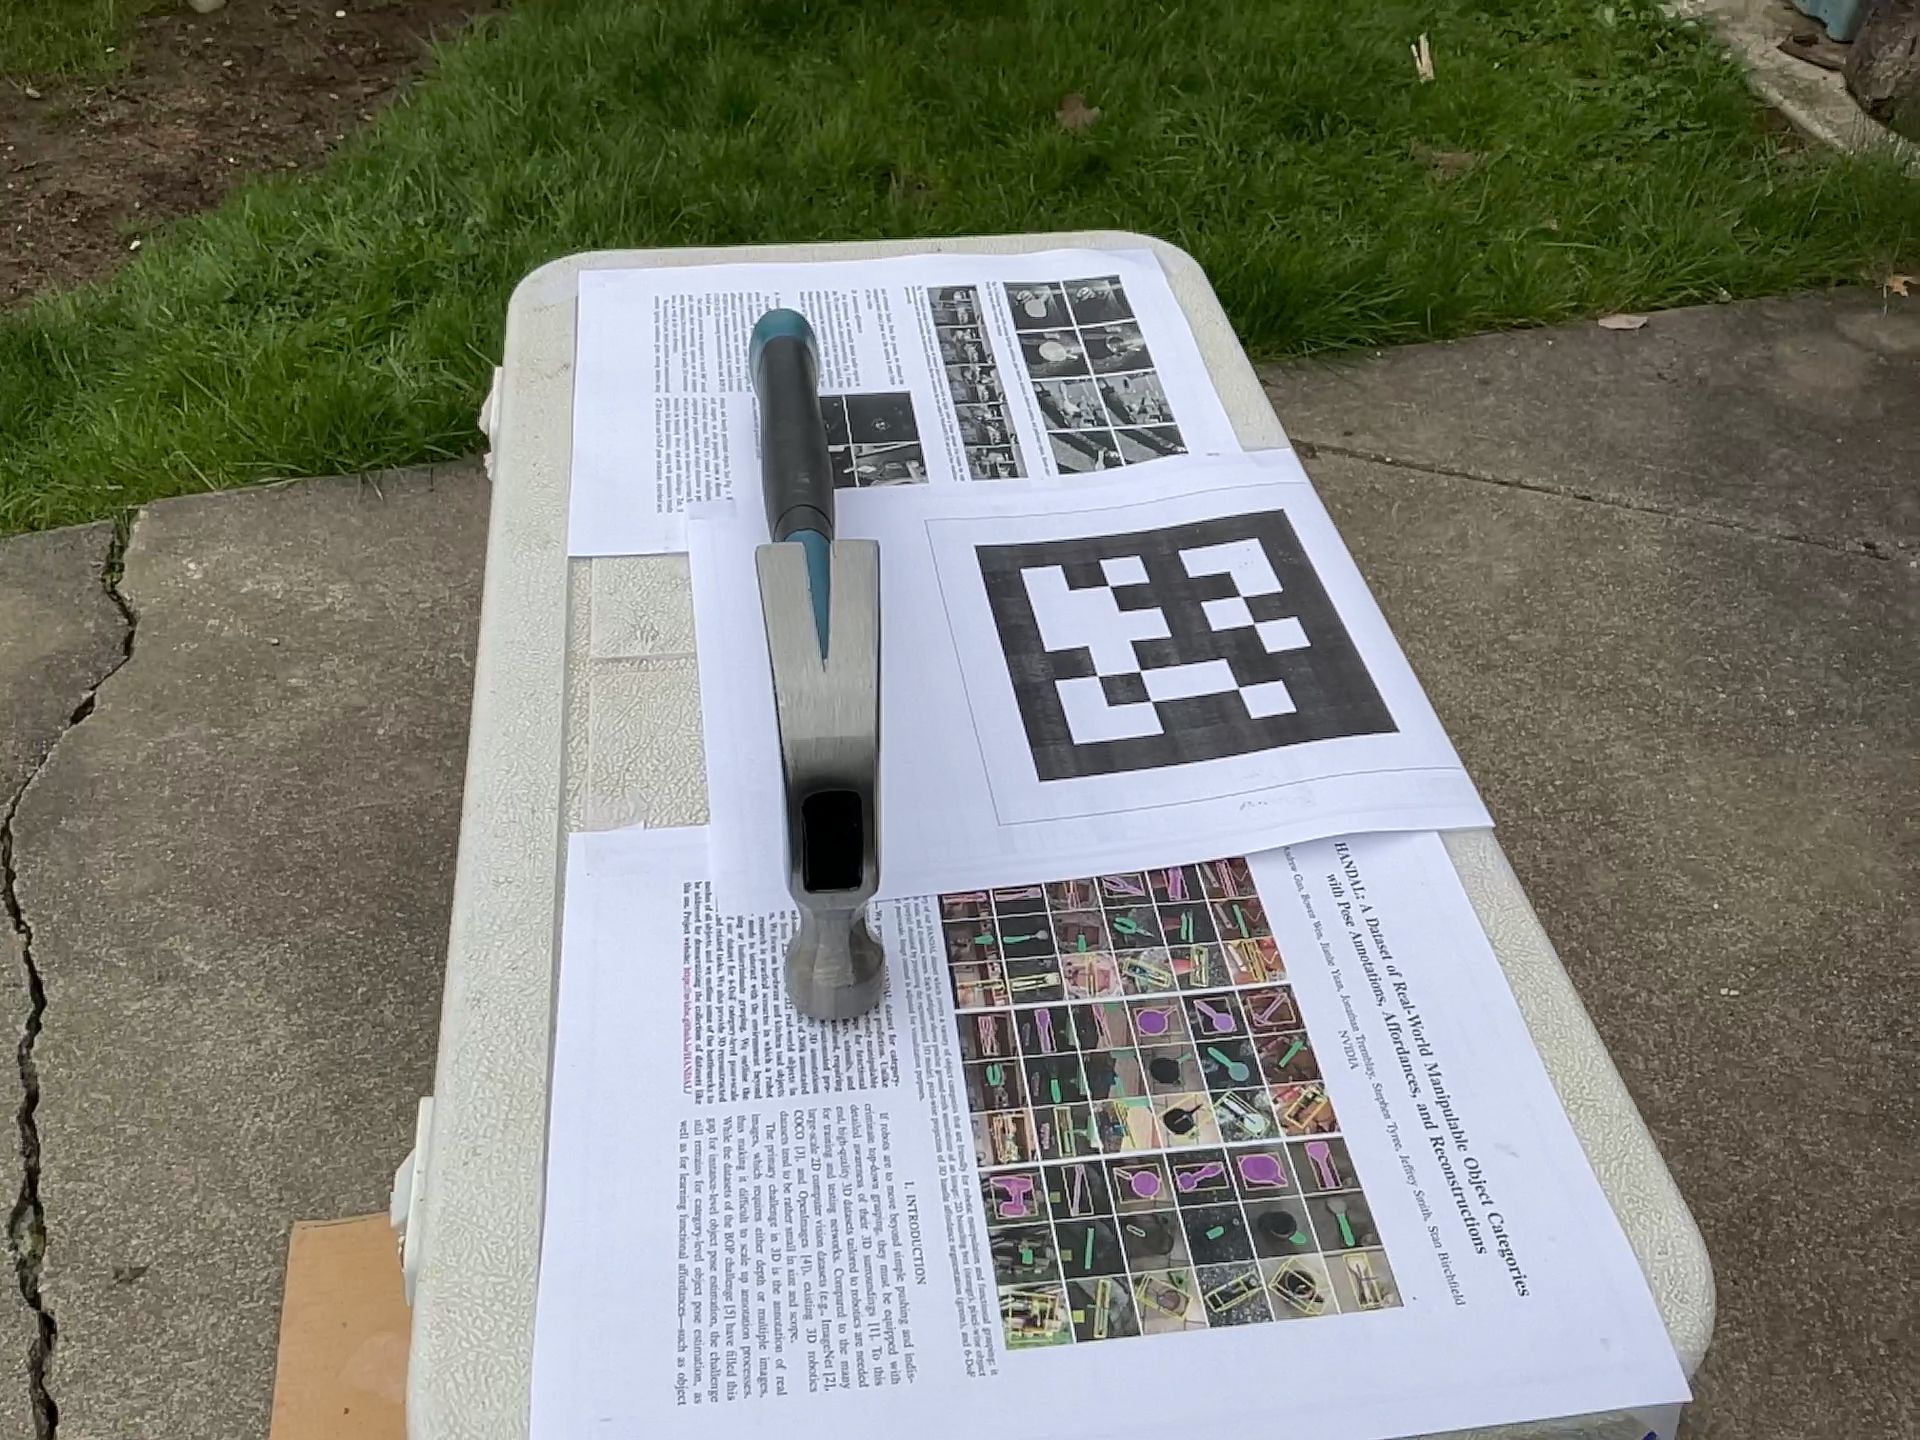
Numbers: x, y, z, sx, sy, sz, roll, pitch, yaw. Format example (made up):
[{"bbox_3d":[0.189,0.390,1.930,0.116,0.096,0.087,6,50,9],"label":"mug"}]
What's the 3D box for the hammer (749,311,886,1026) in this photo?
[{"bbox_3d":[-0.054,-0.059,0.553,0.033,0.128,0.331,-3,36,-8],"label":"hammer"}]
